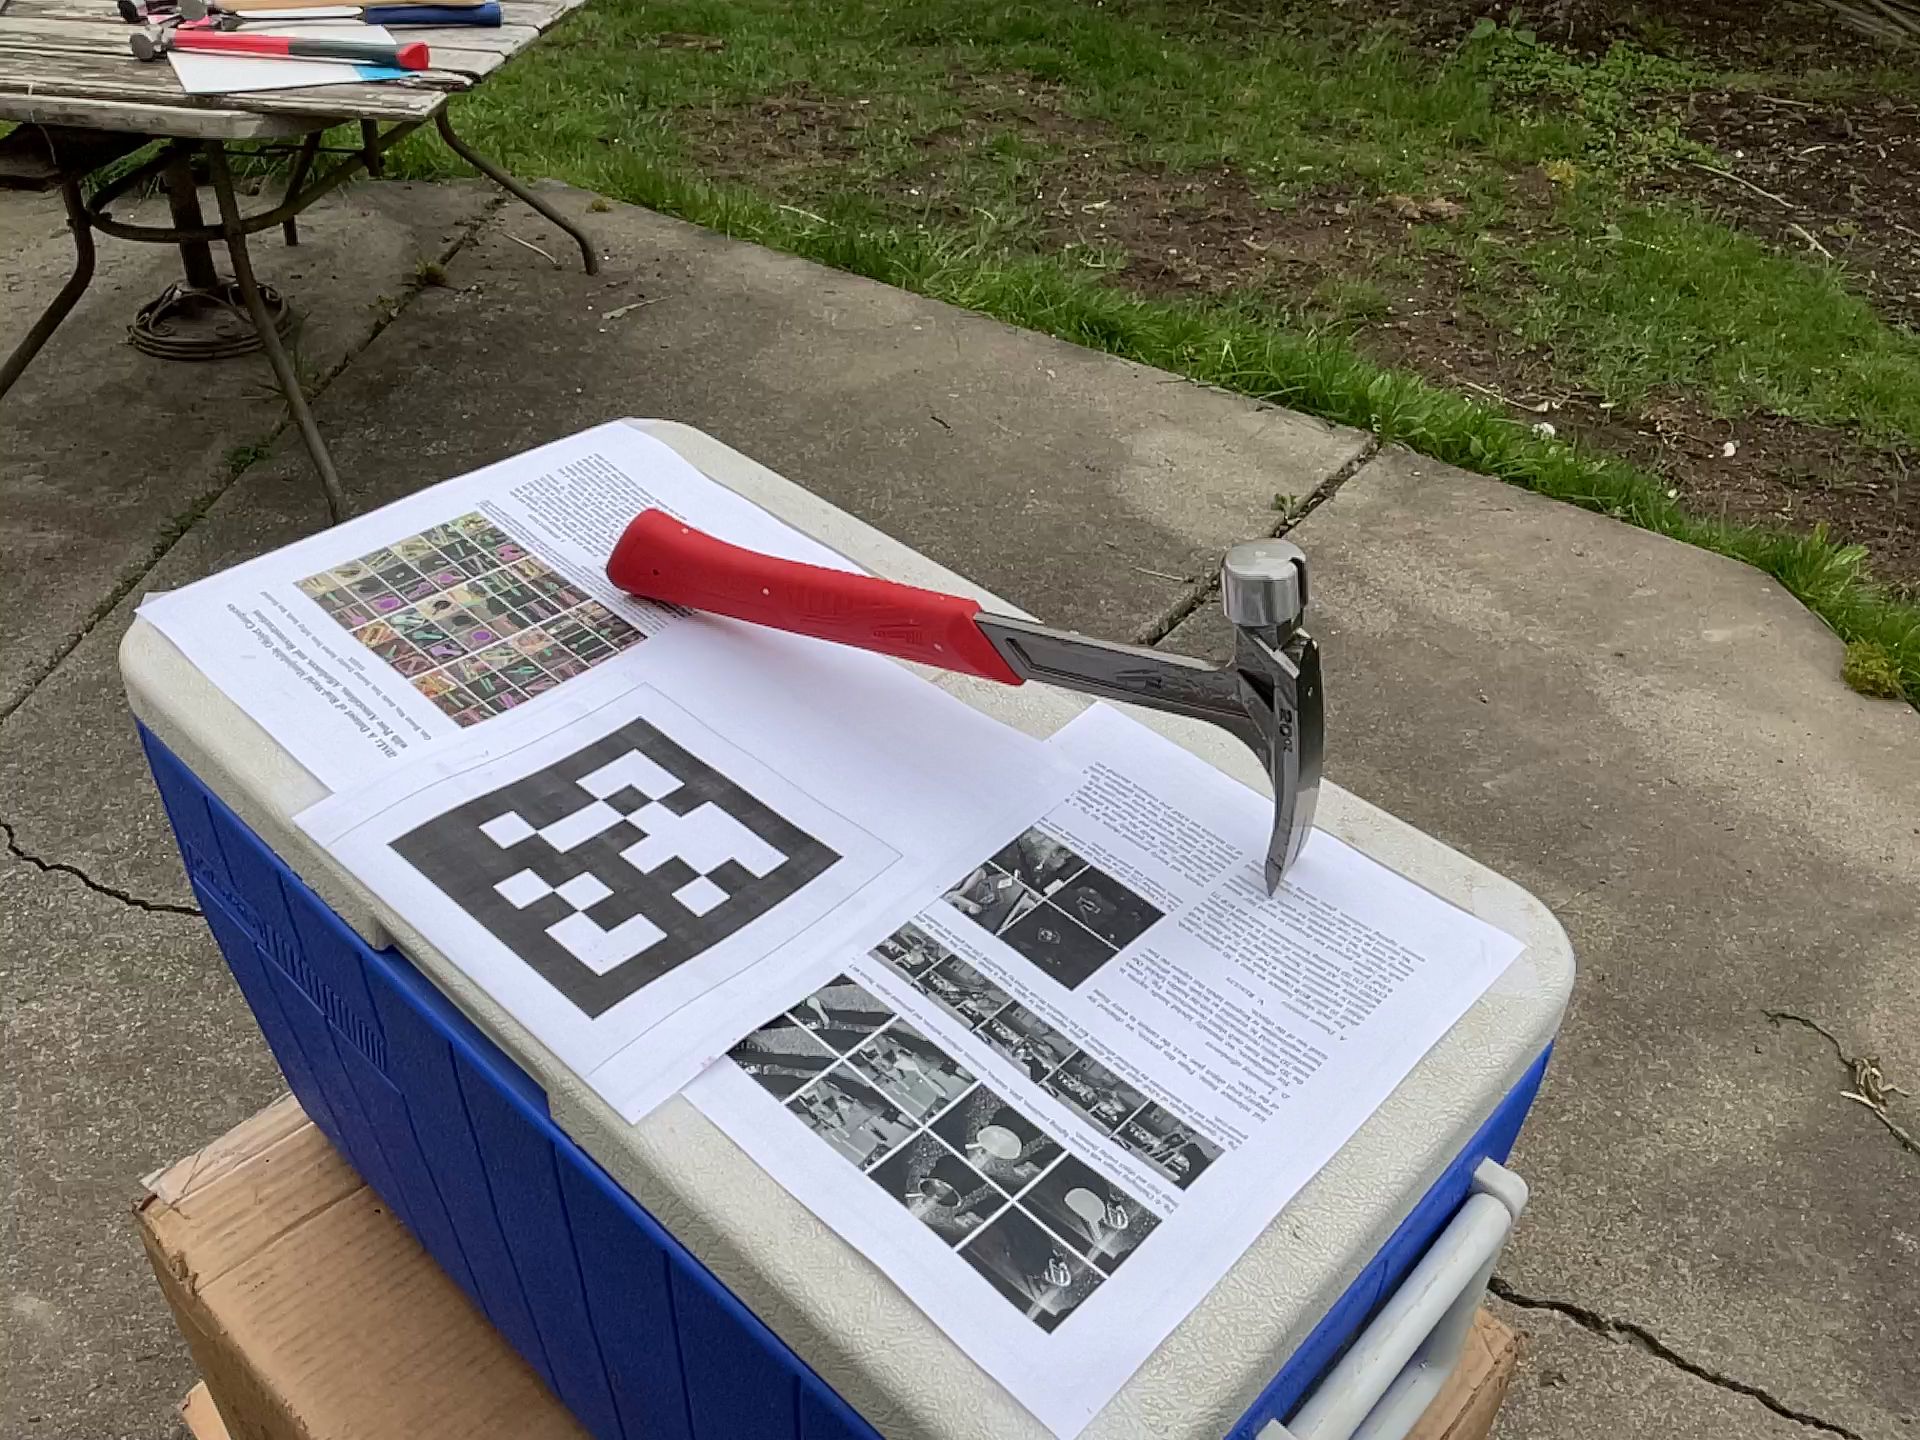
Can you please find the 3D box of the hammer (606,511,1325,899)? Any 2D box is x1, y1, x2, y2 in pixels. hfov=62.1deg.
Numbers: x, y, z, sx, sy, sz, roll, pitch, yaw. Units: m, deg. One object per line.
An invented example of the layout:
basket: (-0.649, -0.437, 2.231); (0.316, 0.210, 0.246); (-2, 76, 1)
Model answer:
hammer: (-0.014, -0.032, 0.706); (0.359, 0.149, 0.037); (14, 39, 31)
